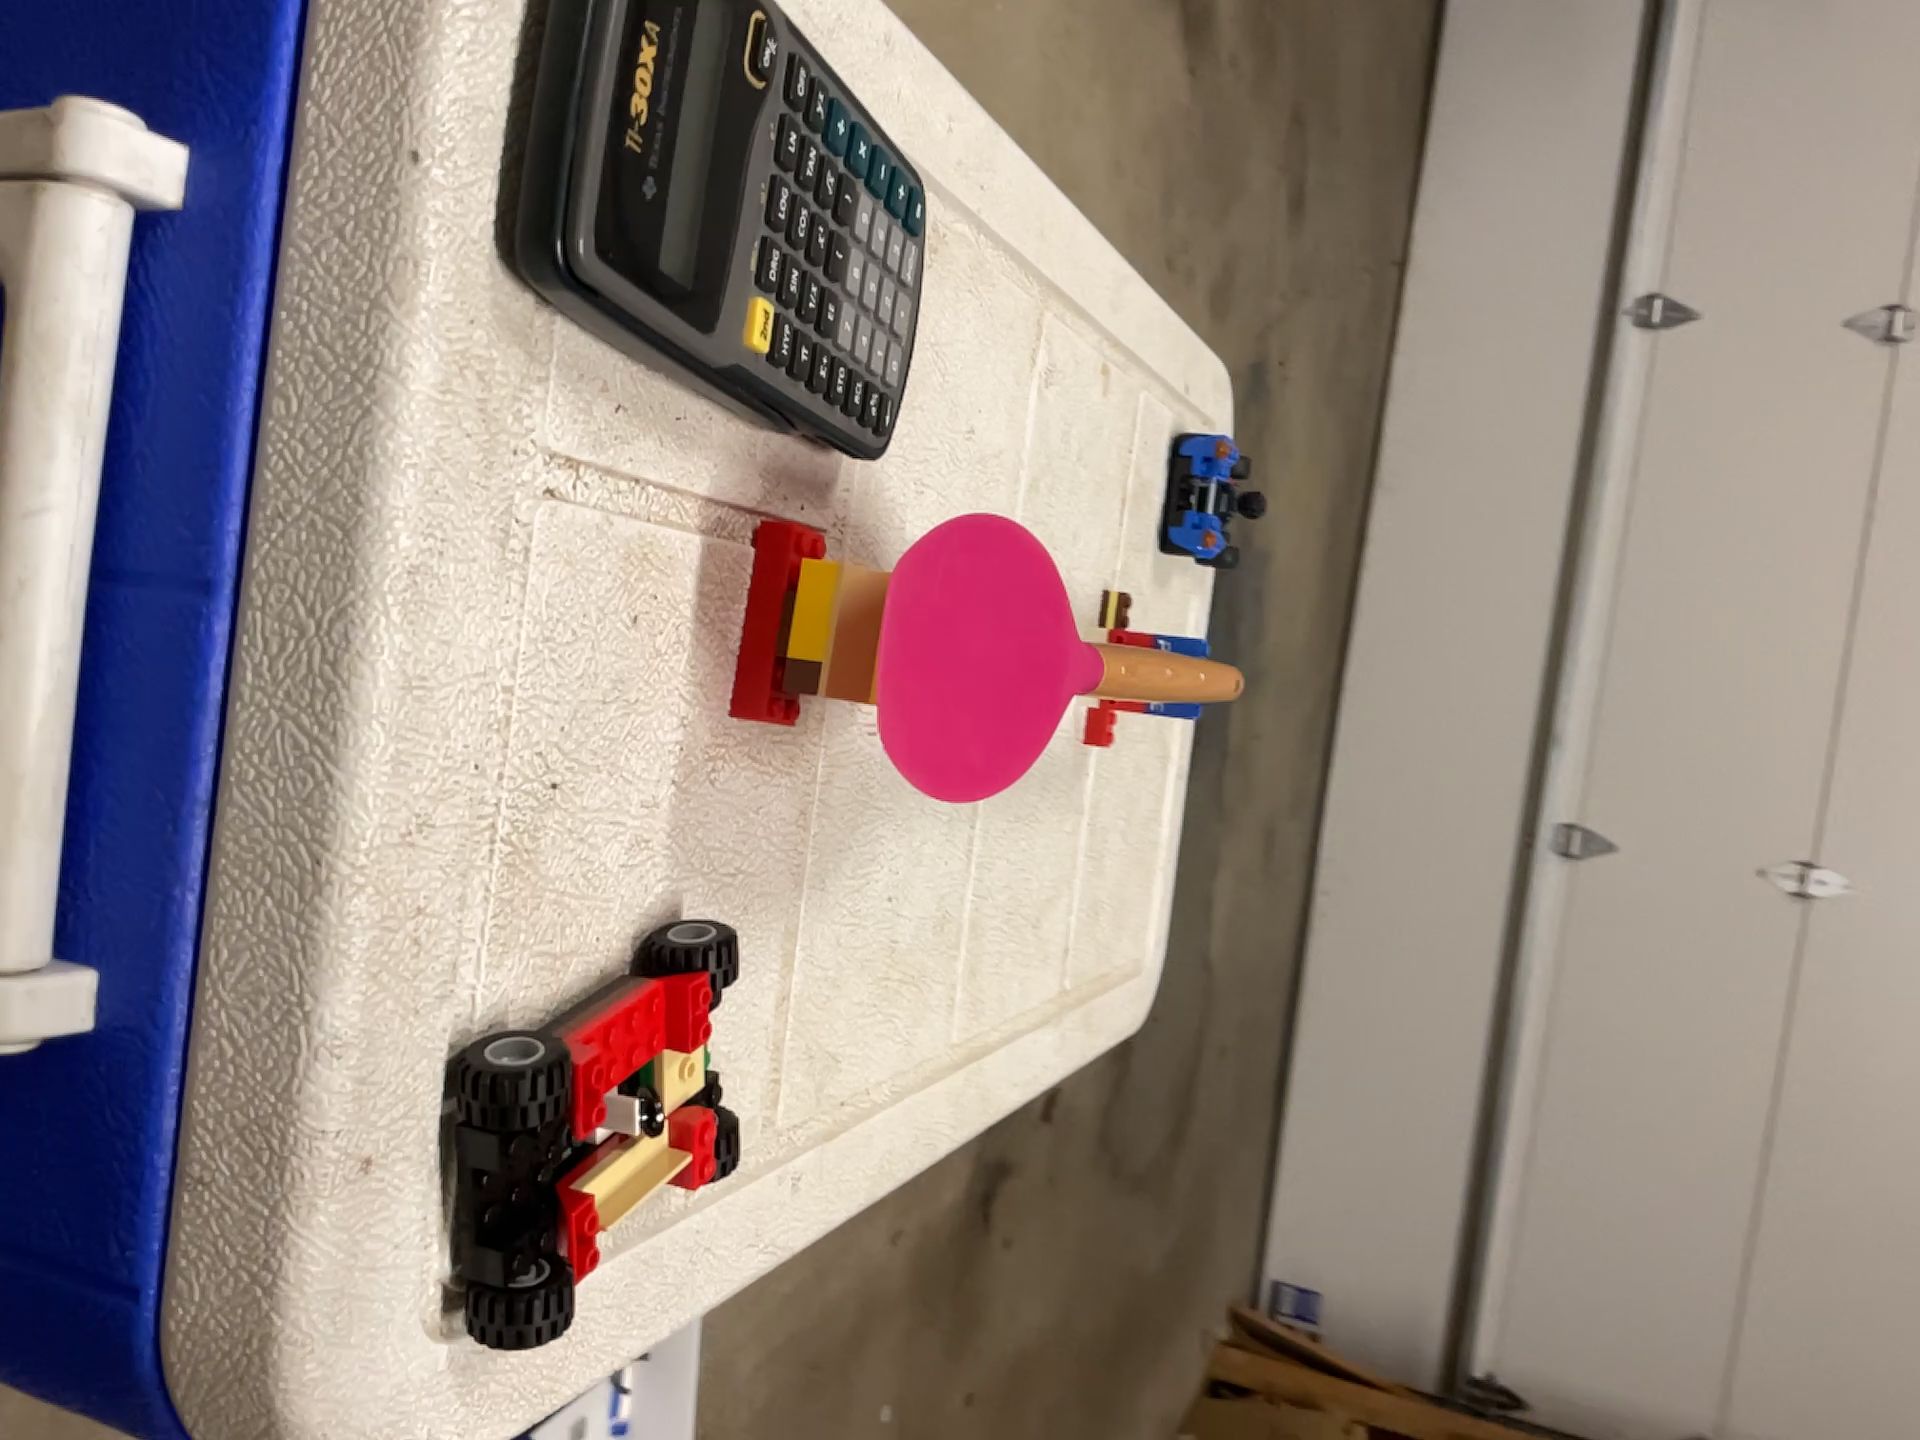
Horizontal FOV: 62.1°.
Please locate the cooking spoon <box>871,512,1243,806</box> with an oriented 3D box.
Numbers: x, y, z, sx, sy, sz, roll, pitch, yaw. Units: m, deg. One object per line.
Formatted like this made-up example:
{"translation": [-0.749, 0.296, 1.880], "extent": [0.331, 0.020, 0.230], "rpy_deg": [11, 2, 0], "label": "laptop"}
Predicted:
{"translation": [0.043, -0.014, 0.479], "extent": [0.319, 0.017, 0.068], "rpy_deg": [1, 97, -67], "label": "cooking spoon"}
